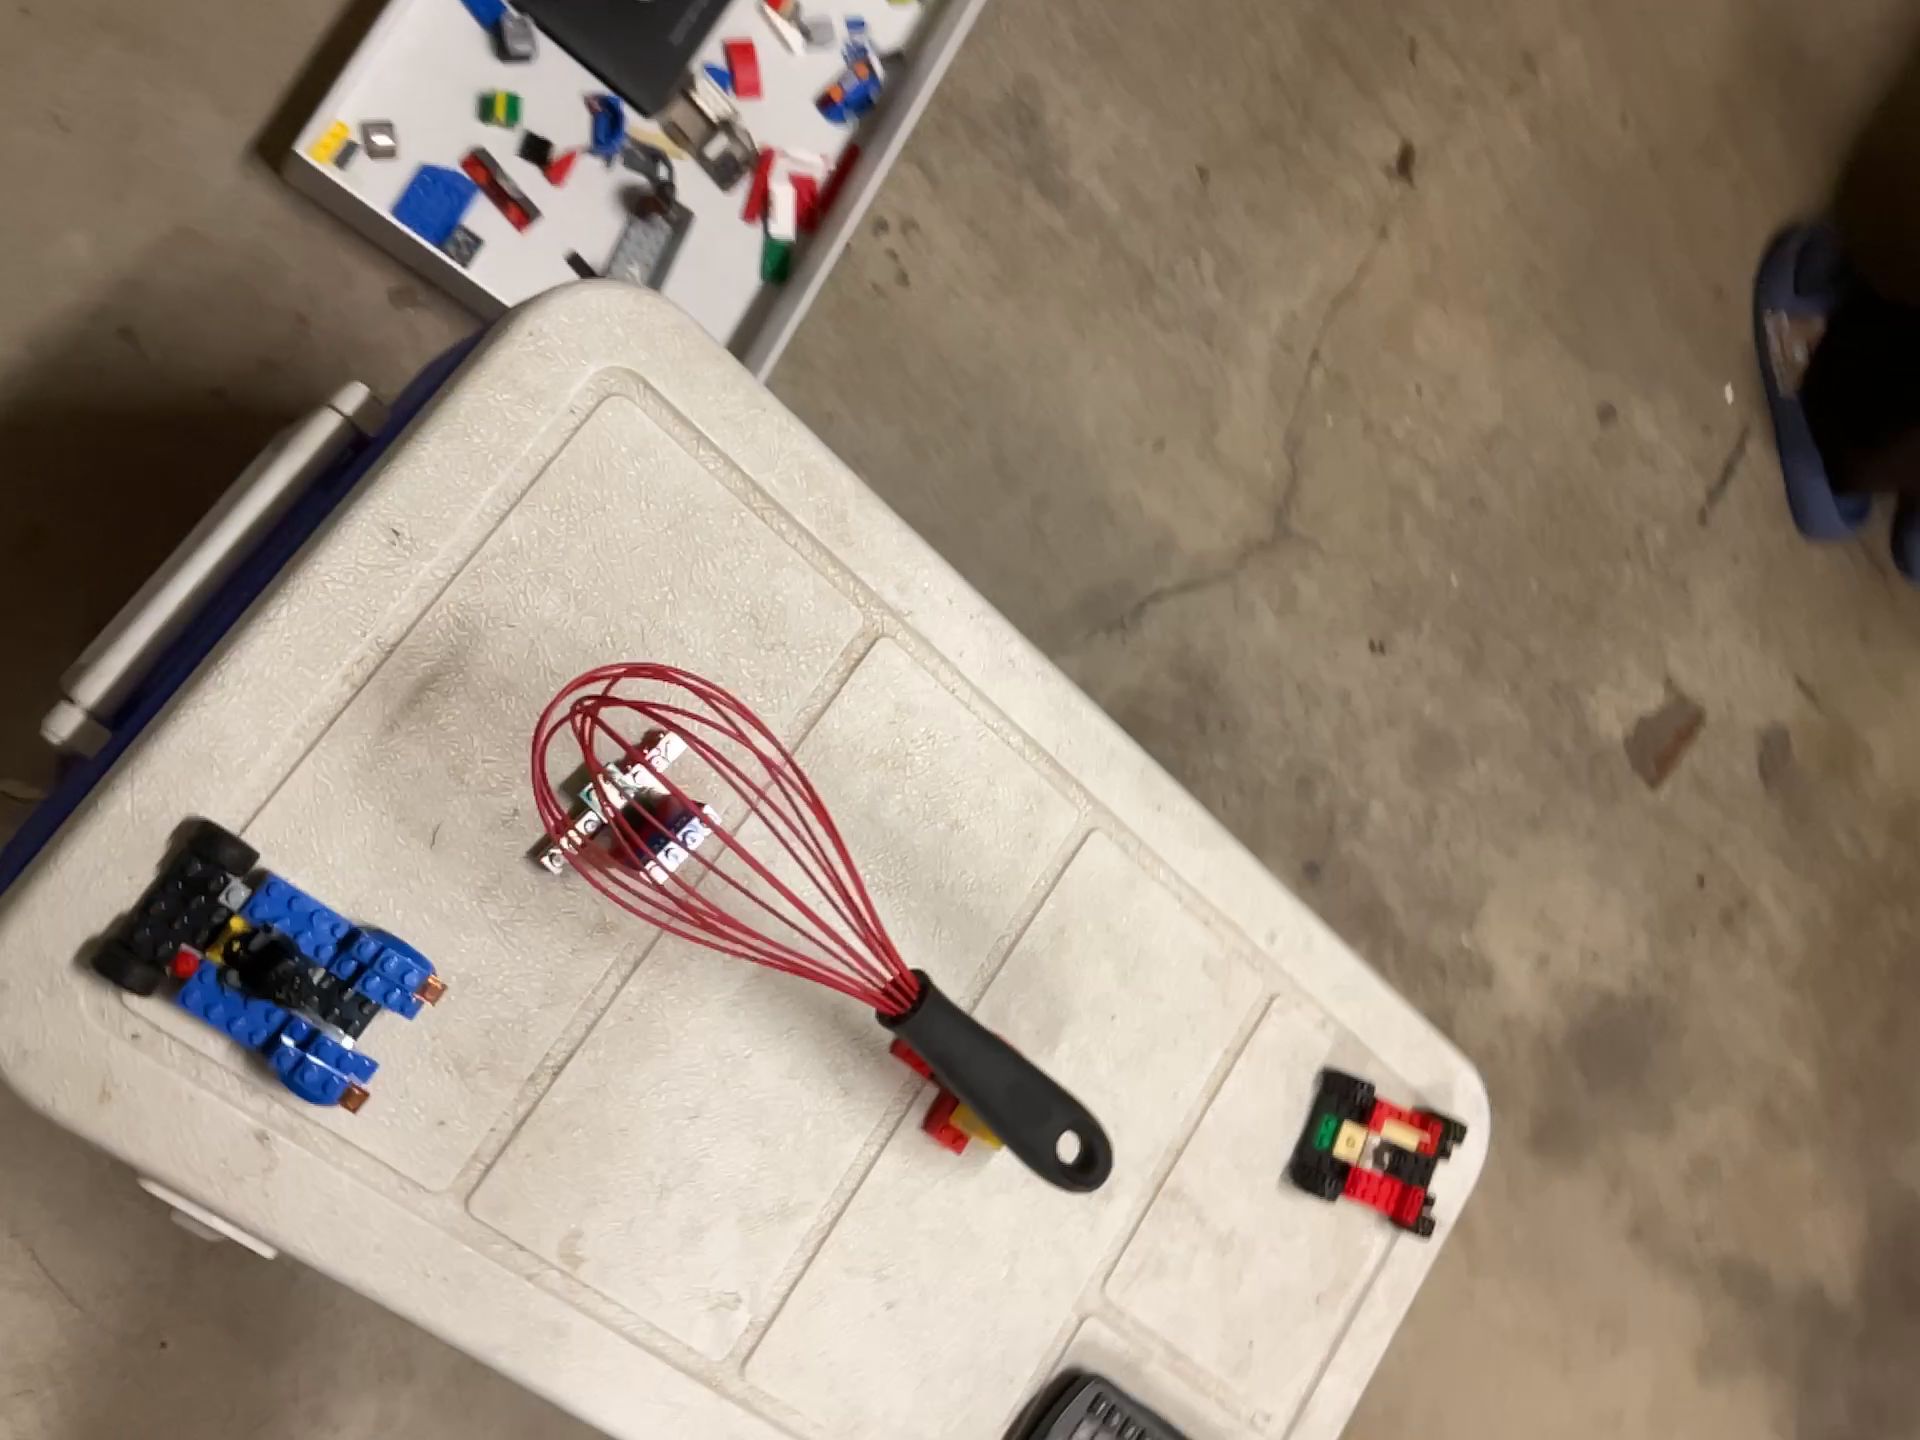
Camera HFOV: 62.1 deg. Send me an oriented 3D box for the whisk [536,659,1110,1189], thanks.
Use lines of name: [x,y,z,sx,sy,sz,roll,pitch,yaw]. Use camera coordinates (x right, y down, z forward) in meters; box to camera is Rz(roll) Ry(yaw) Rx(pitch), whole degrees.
whisk: [-0.031,0.083,0.543,0.295,0.073,0.073,48,67,-32]
